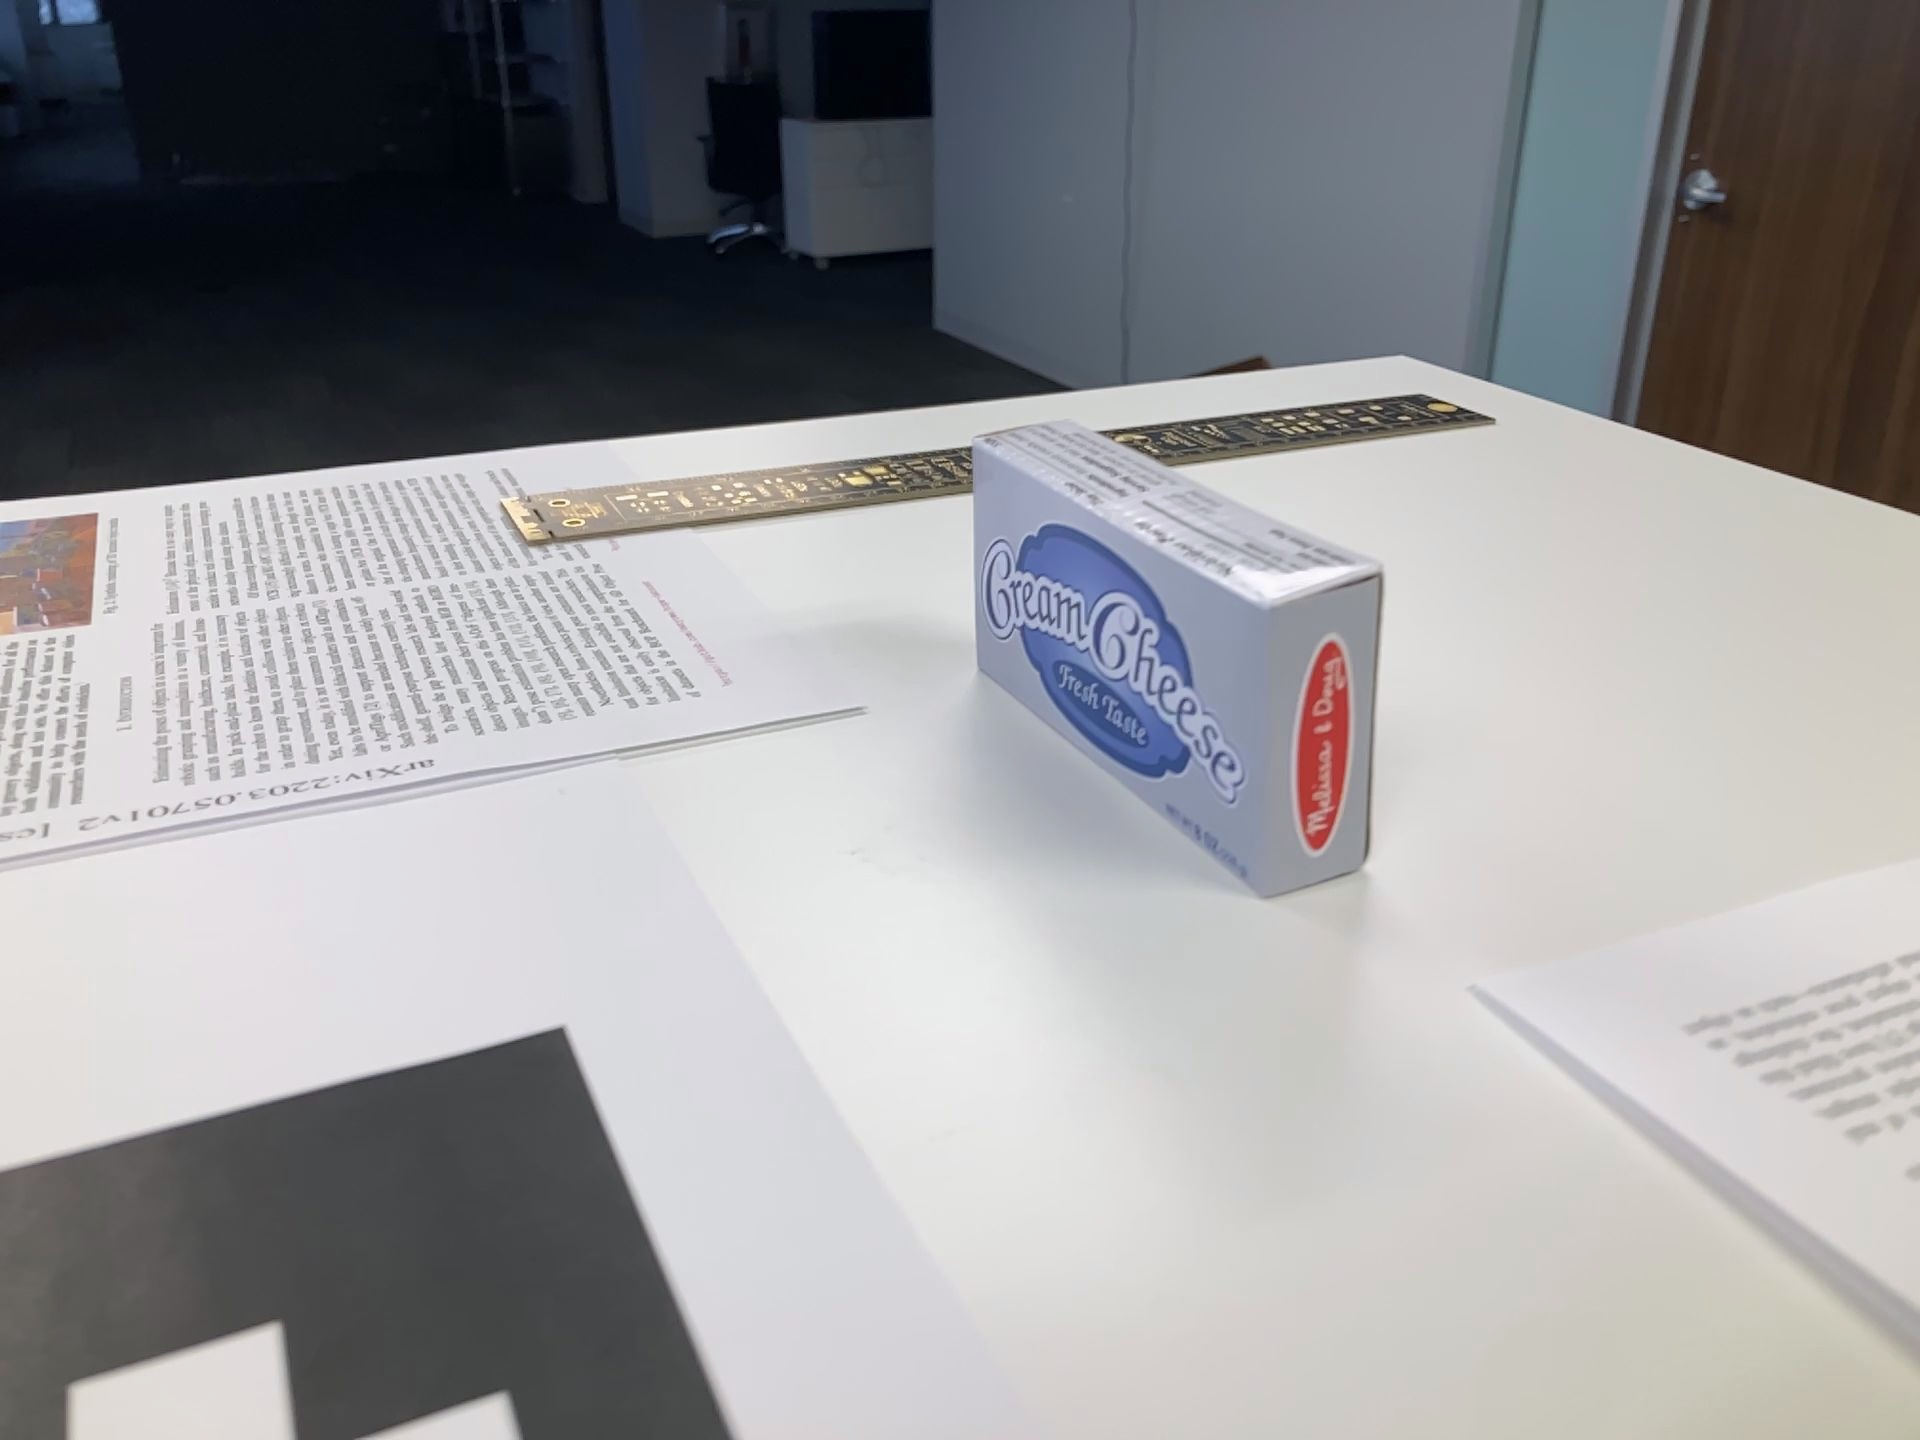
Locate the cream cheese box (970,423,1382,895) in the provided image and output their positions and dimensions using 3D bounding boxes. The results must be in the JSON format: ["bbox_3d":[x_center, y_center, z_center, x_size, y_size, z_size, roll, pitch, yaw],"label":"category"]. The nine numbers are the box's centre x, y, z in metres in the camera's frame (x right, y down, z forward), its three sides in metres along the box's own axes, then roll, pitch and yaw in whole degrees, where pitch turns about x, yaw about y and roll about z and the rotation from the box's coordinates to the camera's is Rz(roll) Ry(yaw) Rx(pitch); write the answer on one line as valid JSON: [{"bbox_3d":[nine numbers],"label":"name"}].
[{"bbox_3d":[0.035,-0.016,0.289,0.024,0.053,0.104,-13,27,-22],"label":"cream cheese box"}]
